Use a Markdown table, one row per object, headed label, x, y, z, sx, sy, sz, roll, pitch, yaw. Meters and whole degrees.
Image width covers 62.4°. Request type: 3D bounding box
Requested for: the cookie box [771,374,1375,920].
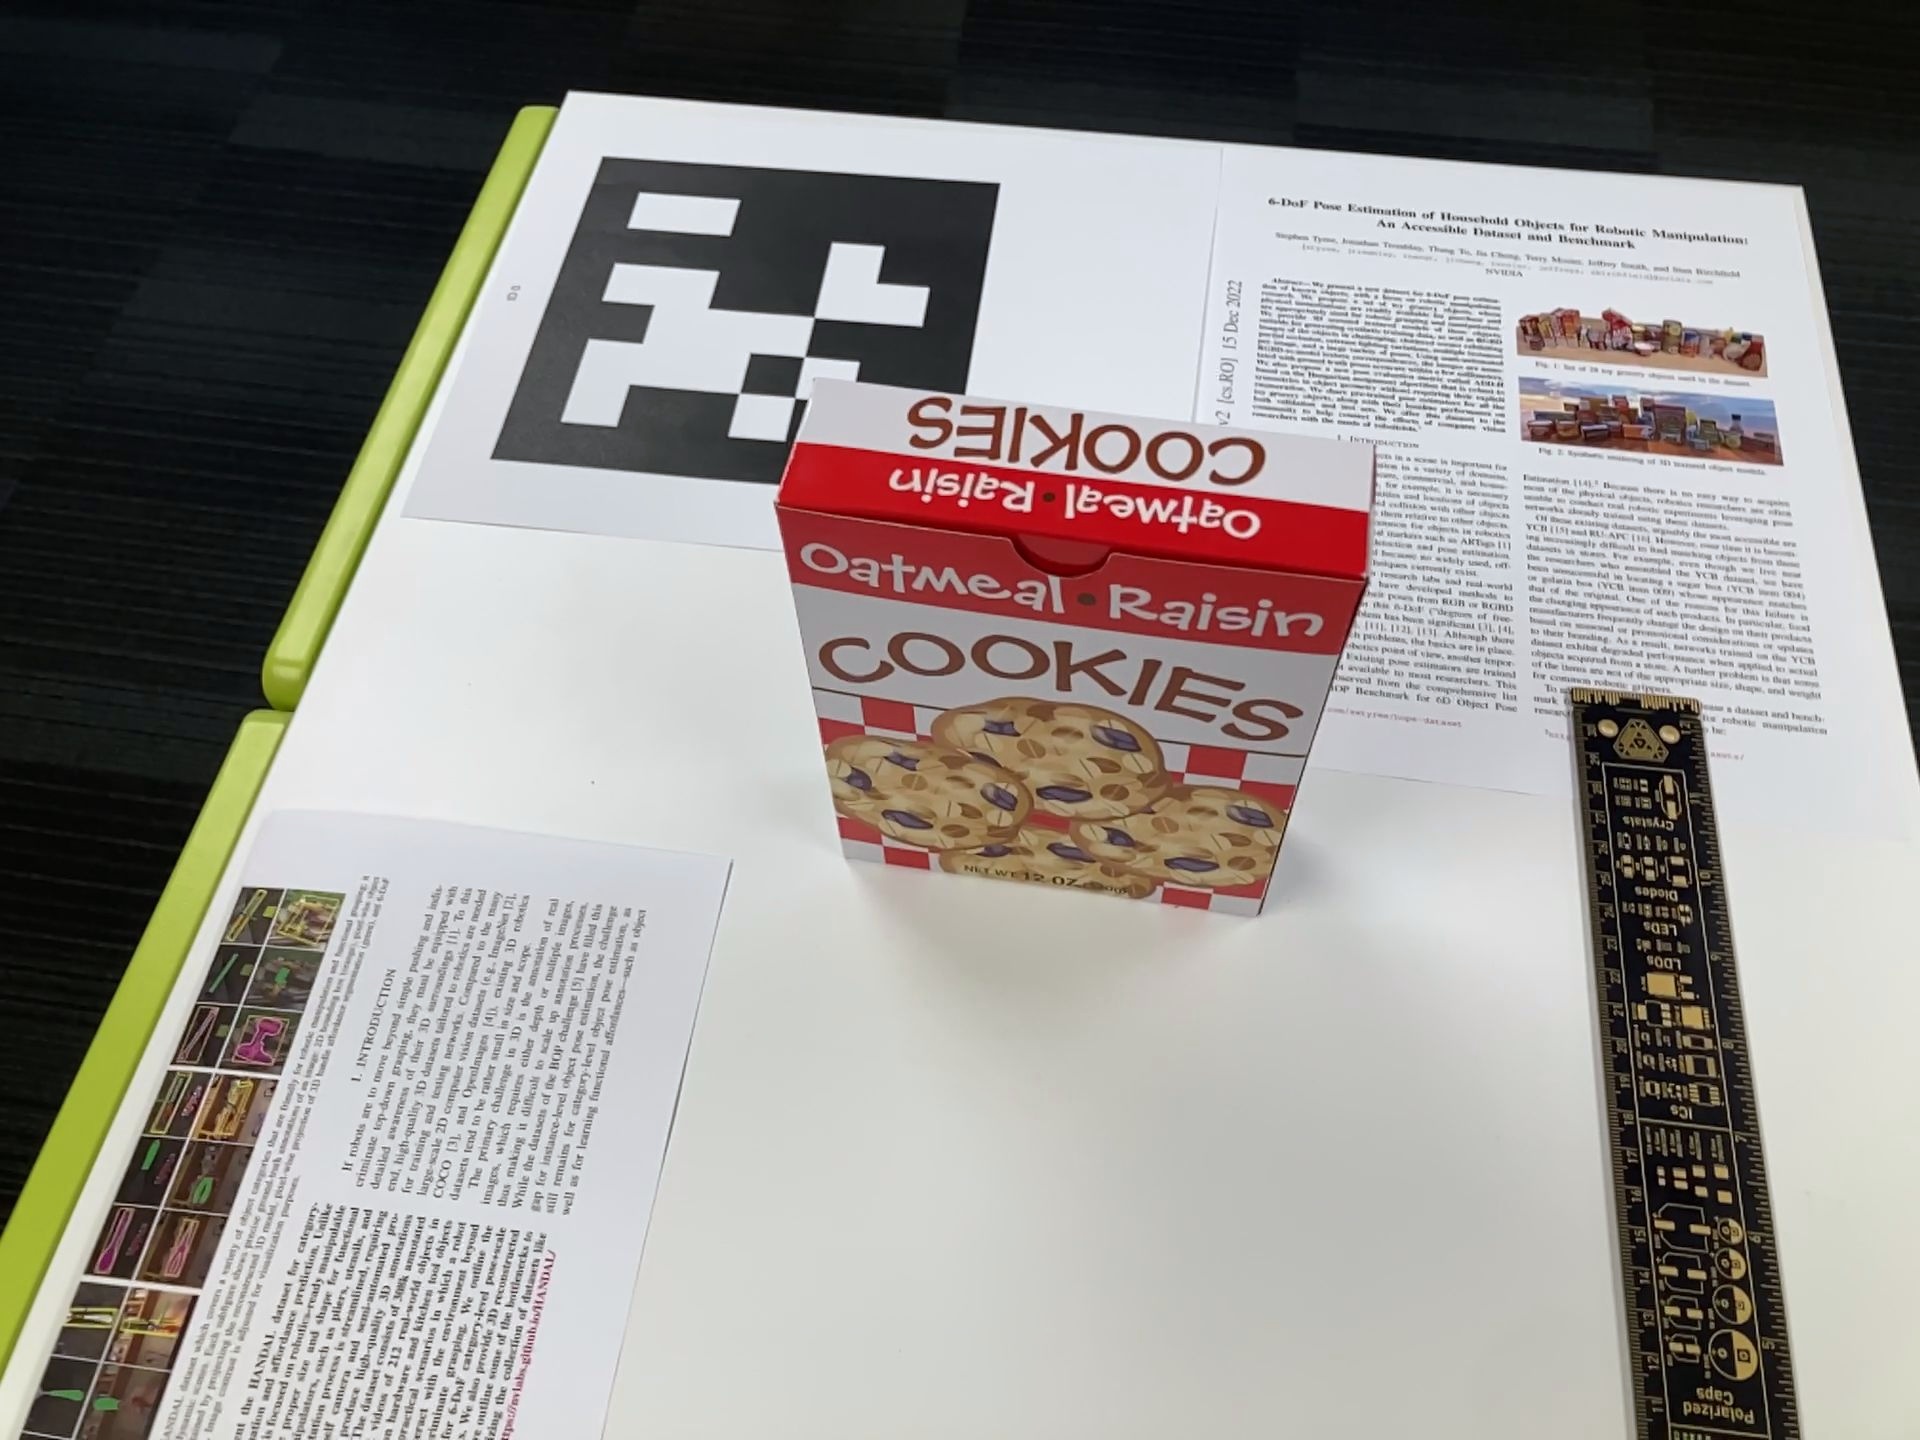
| label | x | y | z | sx | sy | sz | roll | pitch | yaw |
| --- | --- | --- | --- | --- | --- | --- | --- | --- | --- |
| cookie box | 0.026 | -0.008 | 0.397 | 0.123 | 0.167 | 0.040 | 8 | 59 | 6 |
